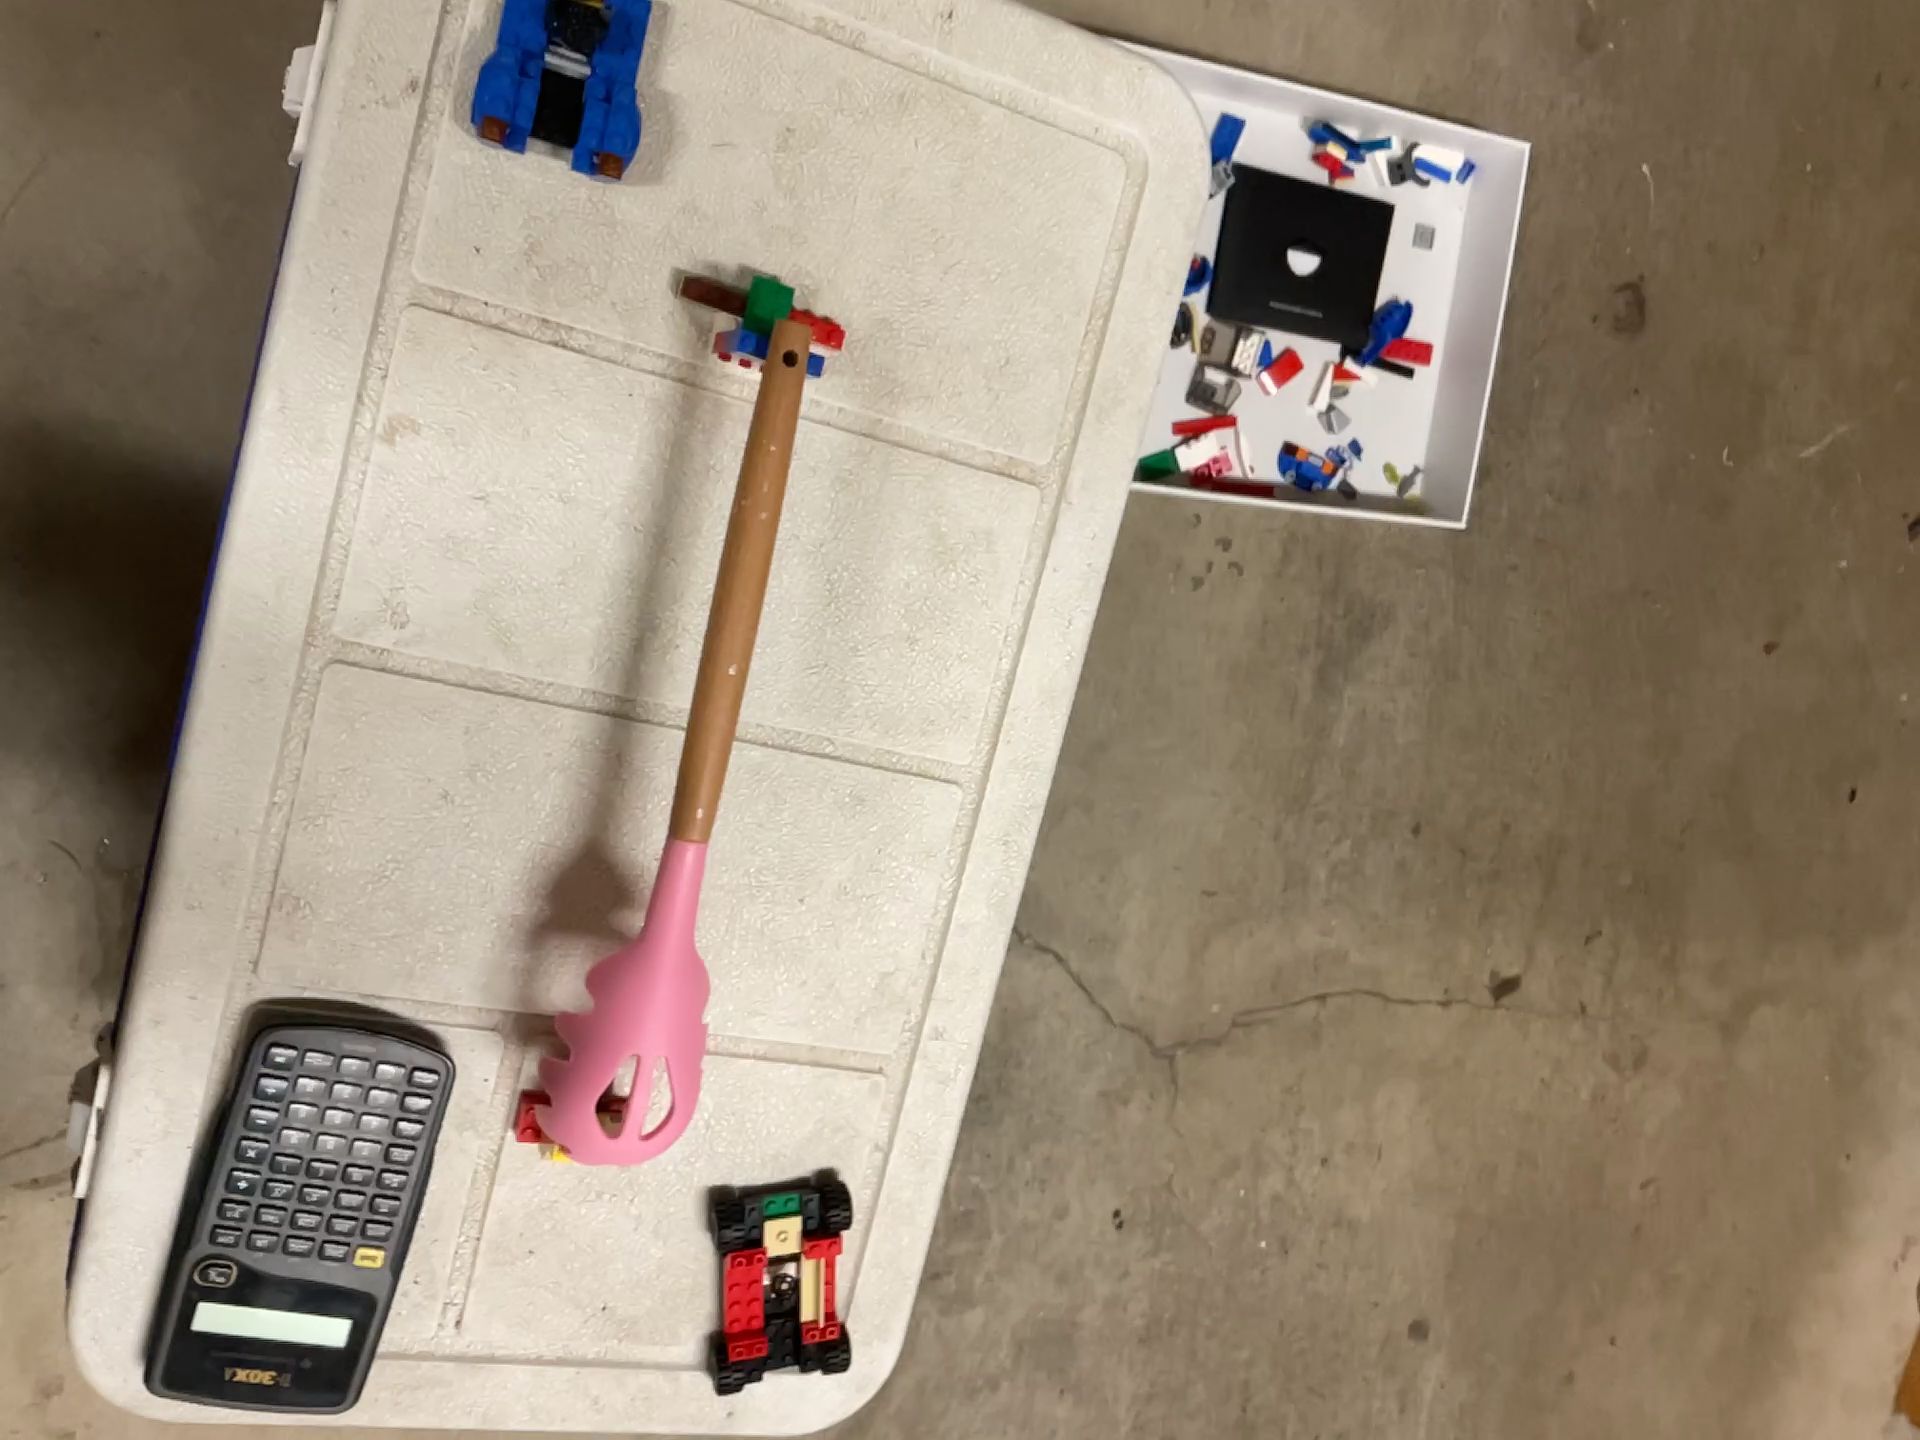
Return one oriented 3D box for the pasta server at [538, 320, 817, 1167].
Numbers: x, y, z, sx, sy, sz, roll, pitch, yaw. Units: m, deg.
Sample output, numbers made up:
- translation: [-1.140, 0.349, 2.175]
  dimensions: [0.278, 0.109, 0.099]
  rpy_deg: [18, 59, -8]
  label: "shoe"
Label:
- translation: [-0.093, 0.015, 0.572]
  dimensions: [0.060, 0.040, 0.316]
  rpy_deg: [11, 94, -22]
  label: "pasta server"
